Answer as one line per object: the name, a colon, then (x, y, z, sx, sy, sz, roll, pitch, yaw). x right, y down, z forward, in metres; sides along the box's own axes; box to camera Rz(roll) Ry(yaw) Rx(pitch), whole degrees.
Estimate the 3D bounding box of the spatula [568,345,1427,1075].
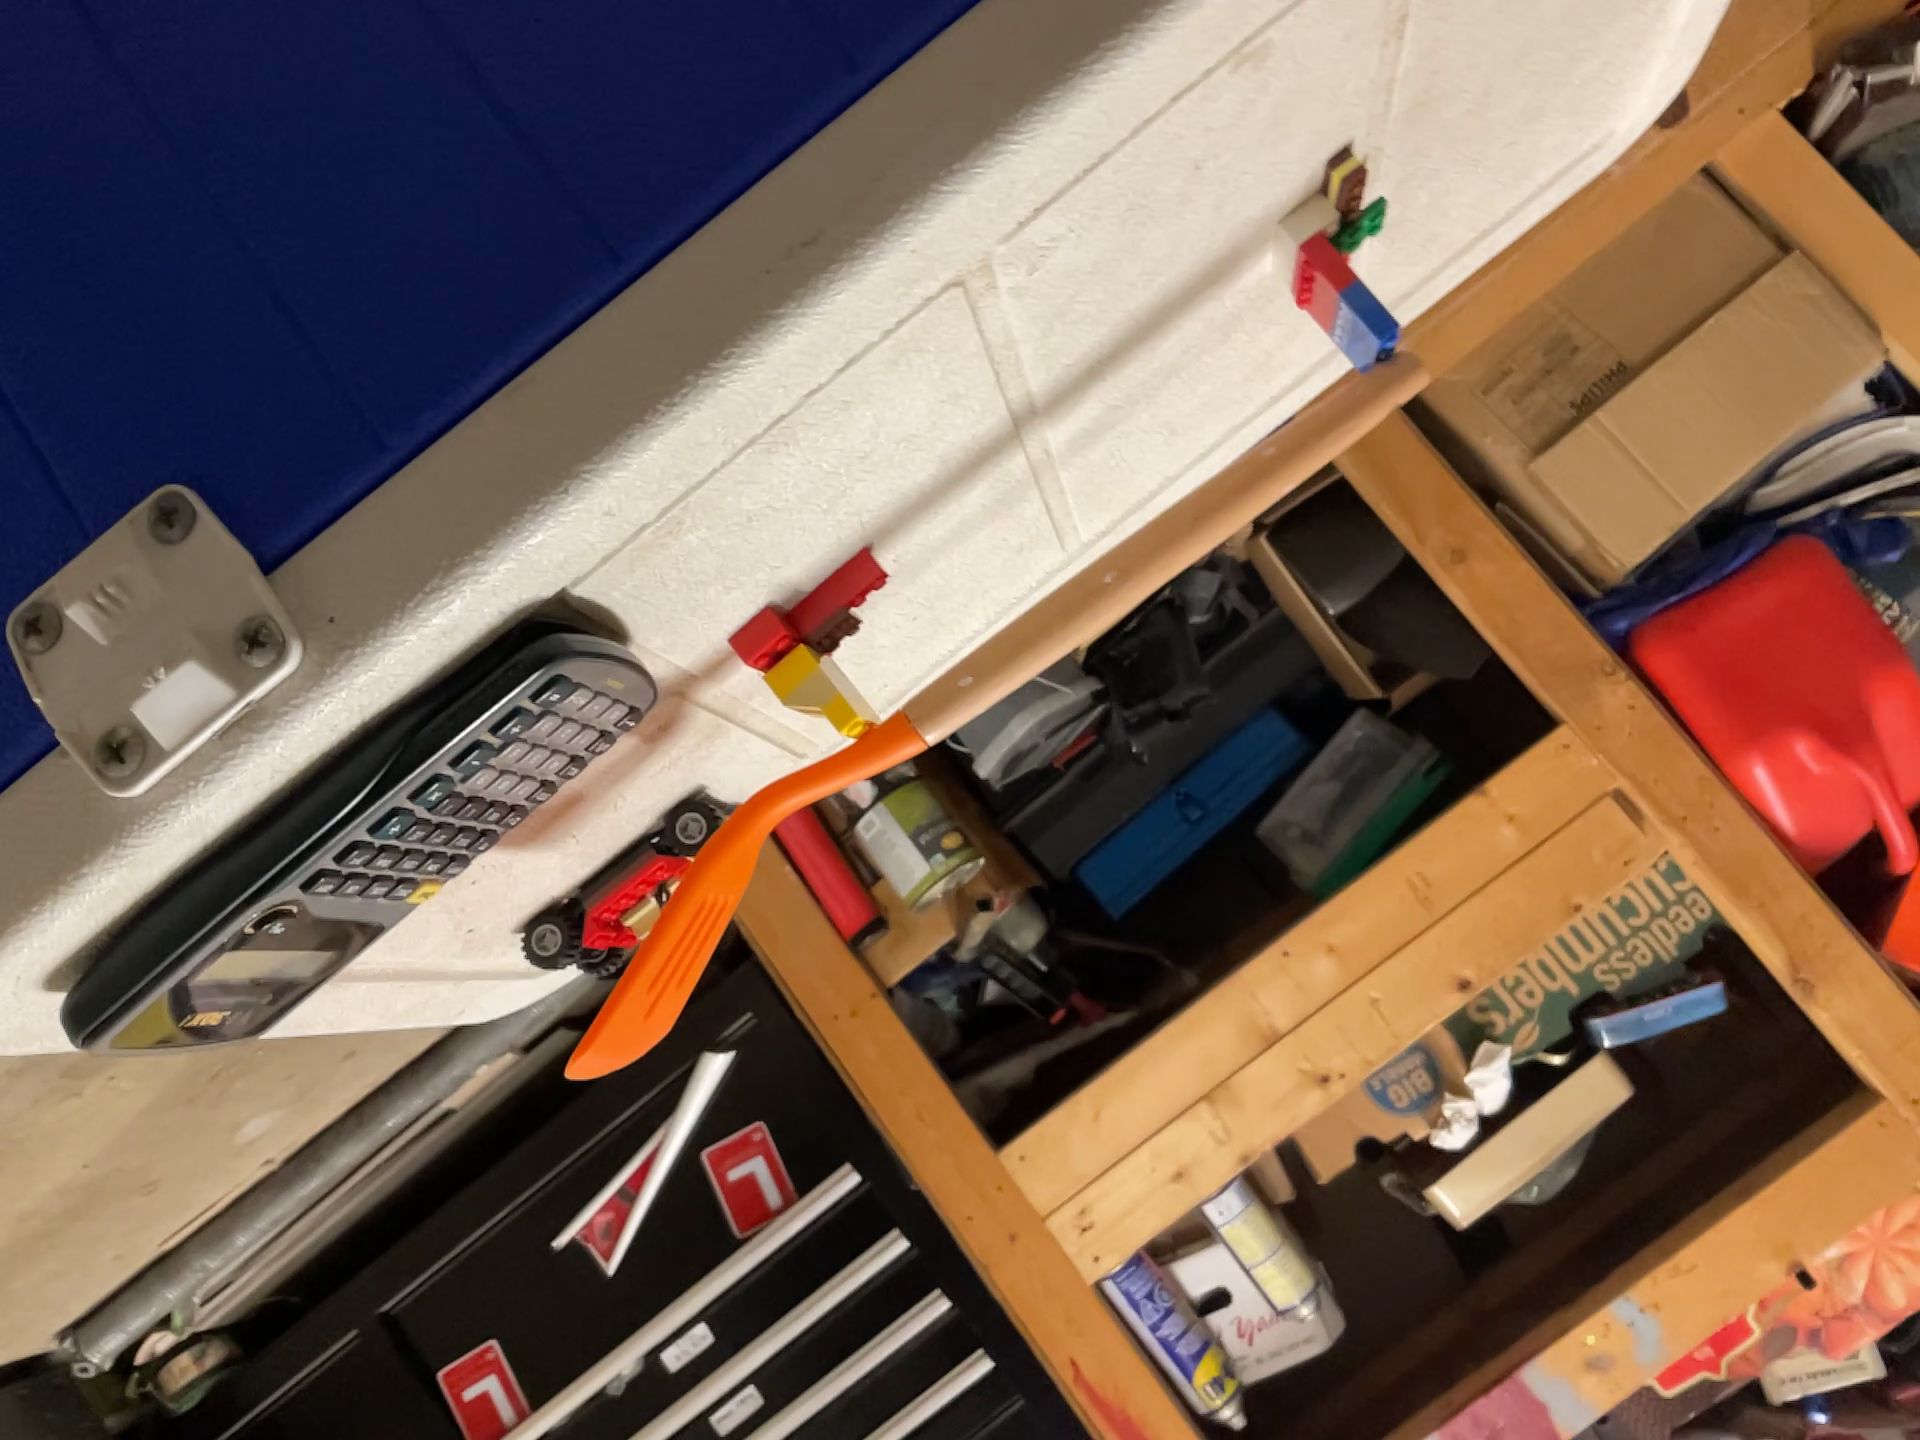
spatula: (0.012, -0.006, 0.479, 0.322, 0.041, 0.081, -36, 170, 0)
